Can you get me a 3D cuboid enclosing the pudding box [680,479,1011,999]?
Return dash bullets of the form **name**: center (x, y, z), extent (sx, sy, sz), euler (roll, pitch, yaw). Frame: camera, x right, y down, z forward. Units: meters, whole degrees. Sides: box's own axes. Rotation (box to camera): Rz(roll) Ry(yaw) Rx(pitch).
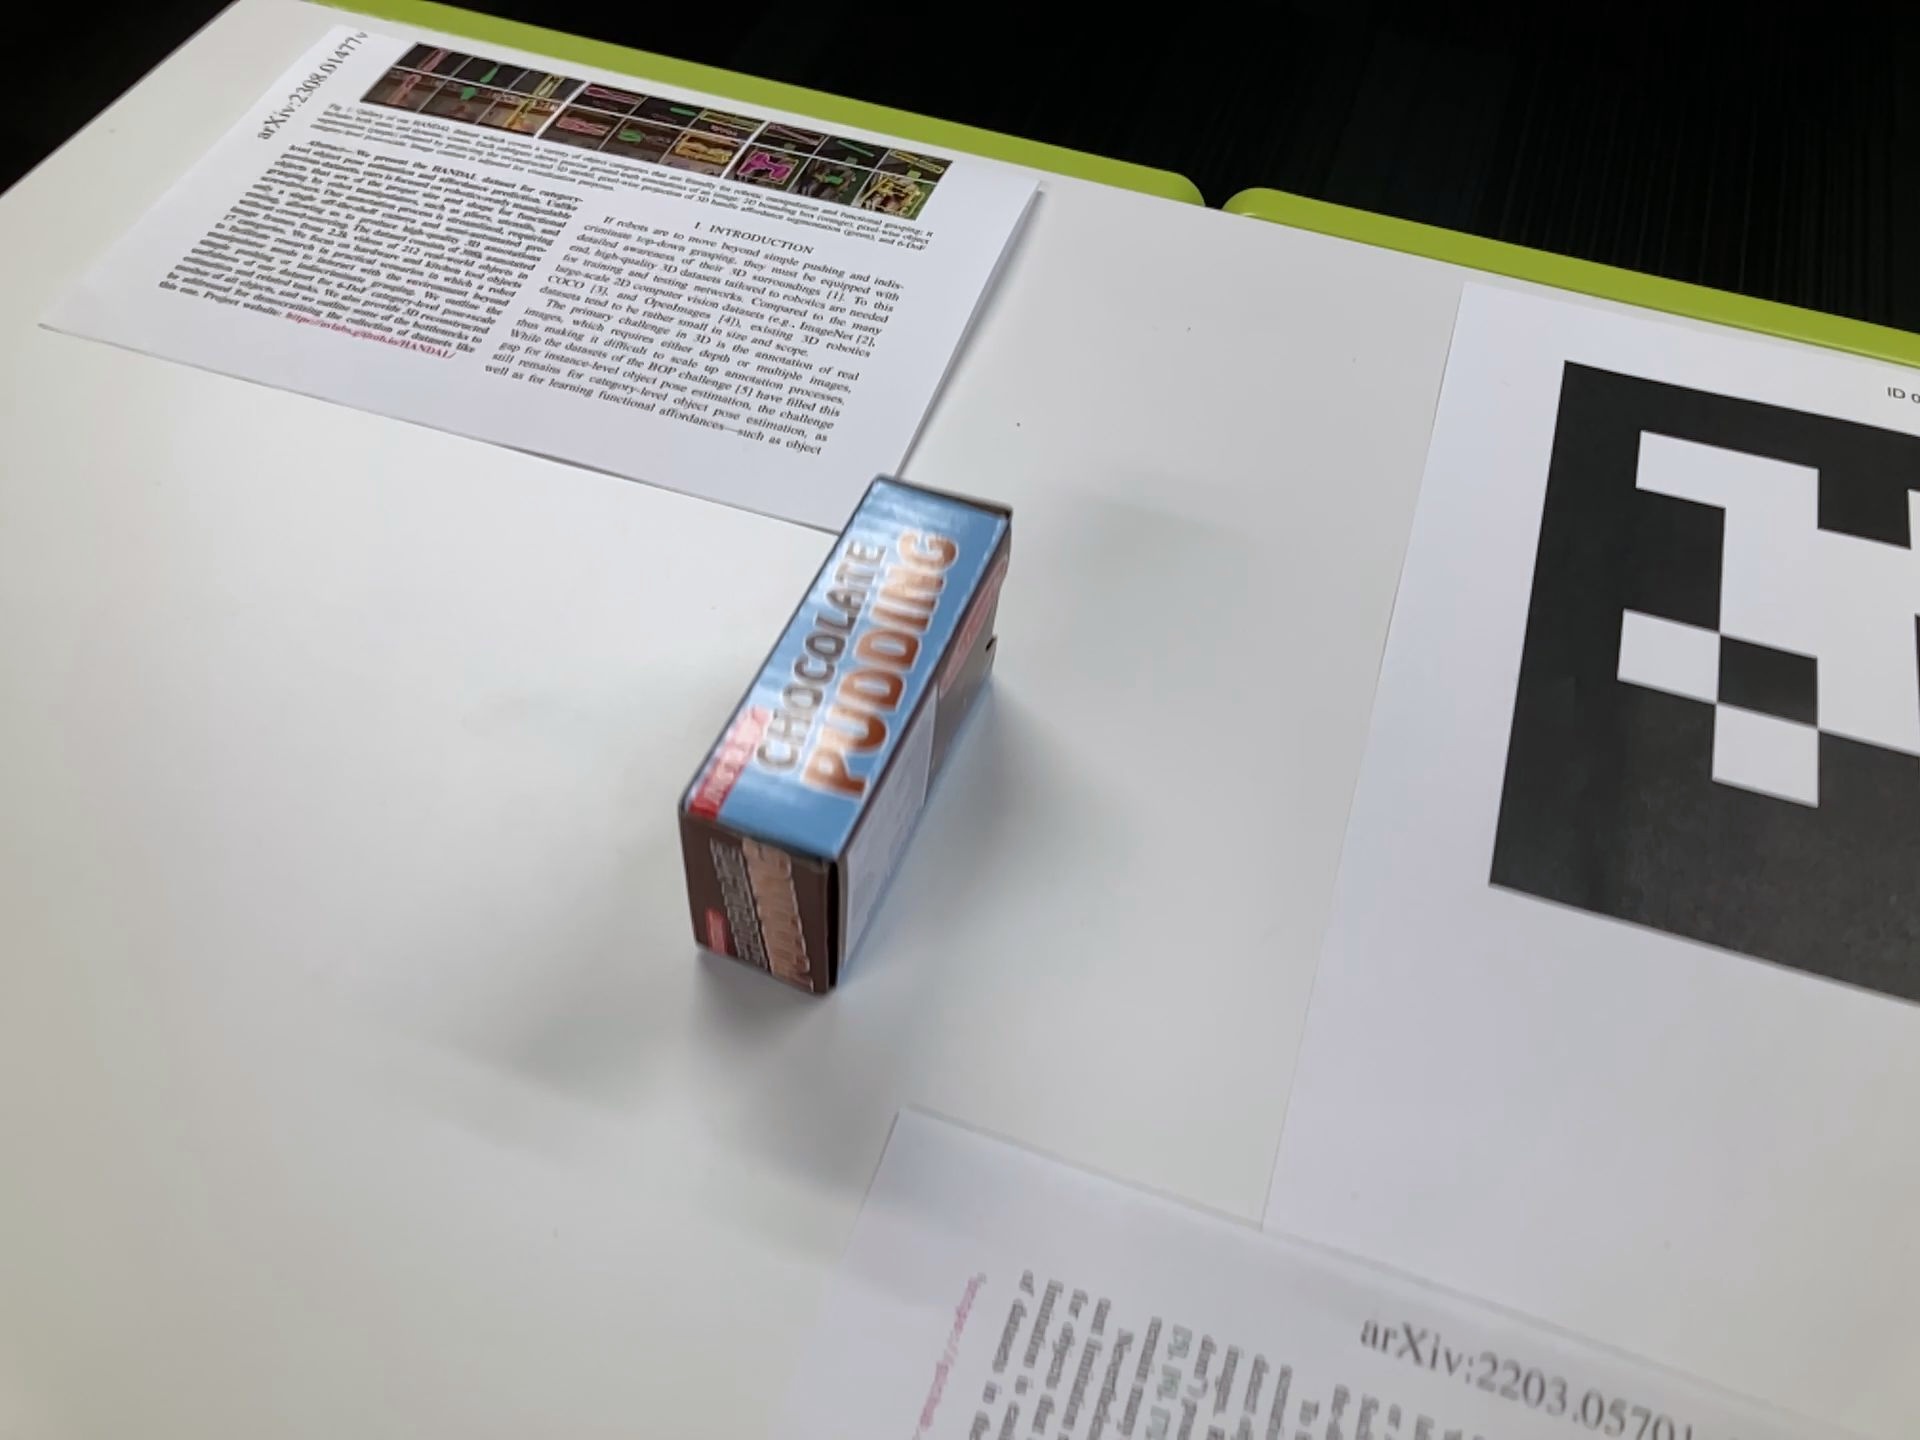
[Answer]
- **pudding box**: center (-0.019, 0.002, 0.292), extent (0.030, 0.049, 0.083), euler (19, 55, 9)
